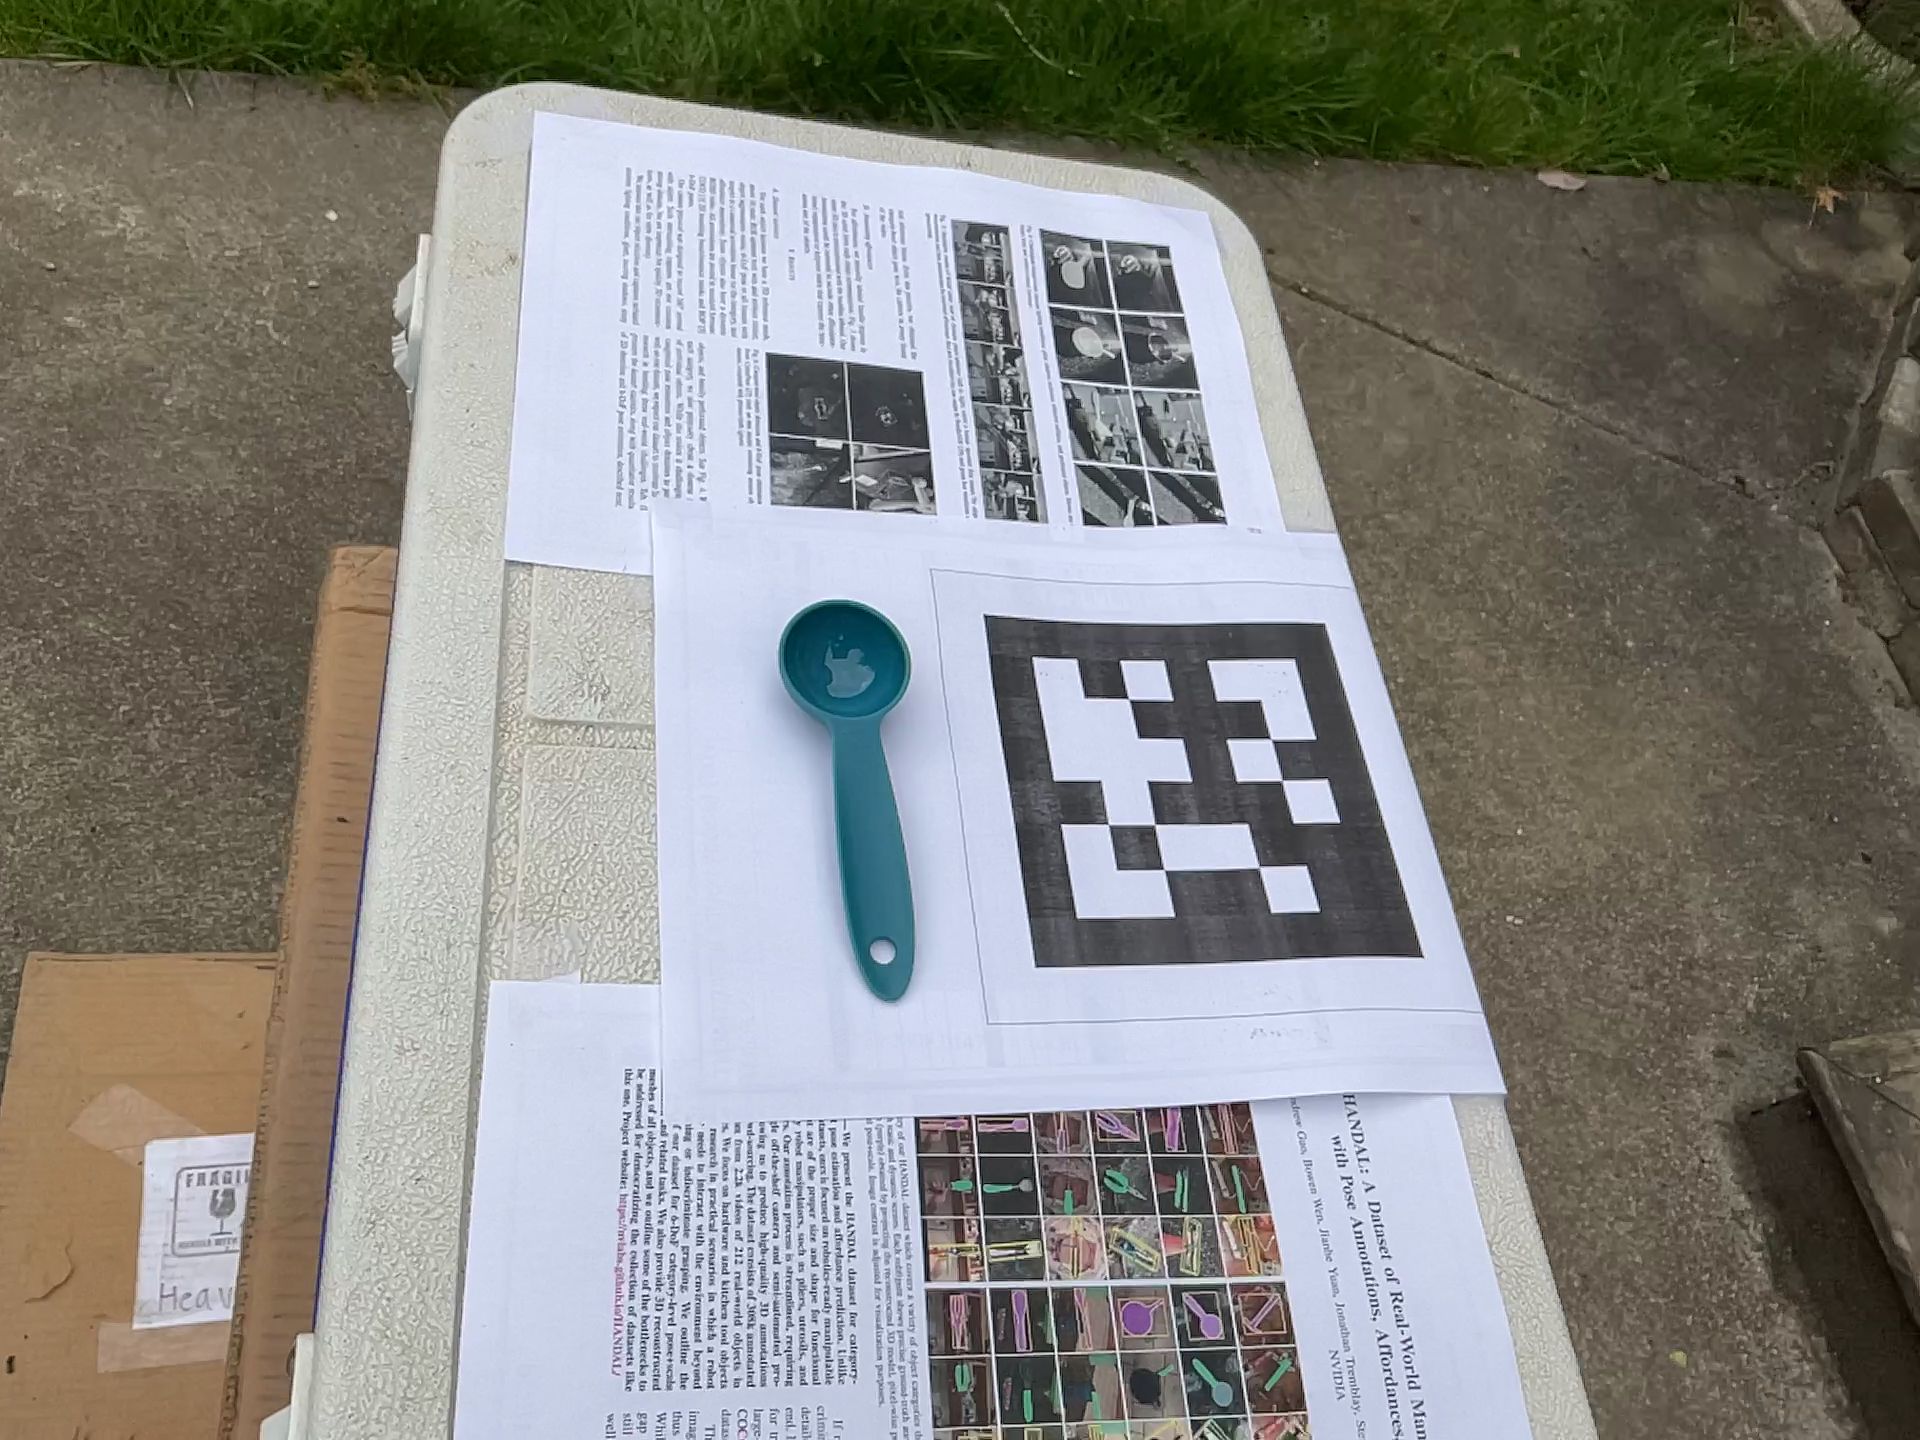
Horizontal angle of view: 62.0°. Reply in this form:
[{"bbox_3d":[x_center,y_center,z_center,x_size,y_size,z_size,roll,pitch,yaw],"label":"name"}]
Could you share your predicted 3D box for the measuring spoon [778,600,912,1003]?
[{"bbox_3d":[-0.032,0.025,0.490,0.042,0.021,0.129,-1,68,-18],"label":"measuring spoon"}]
